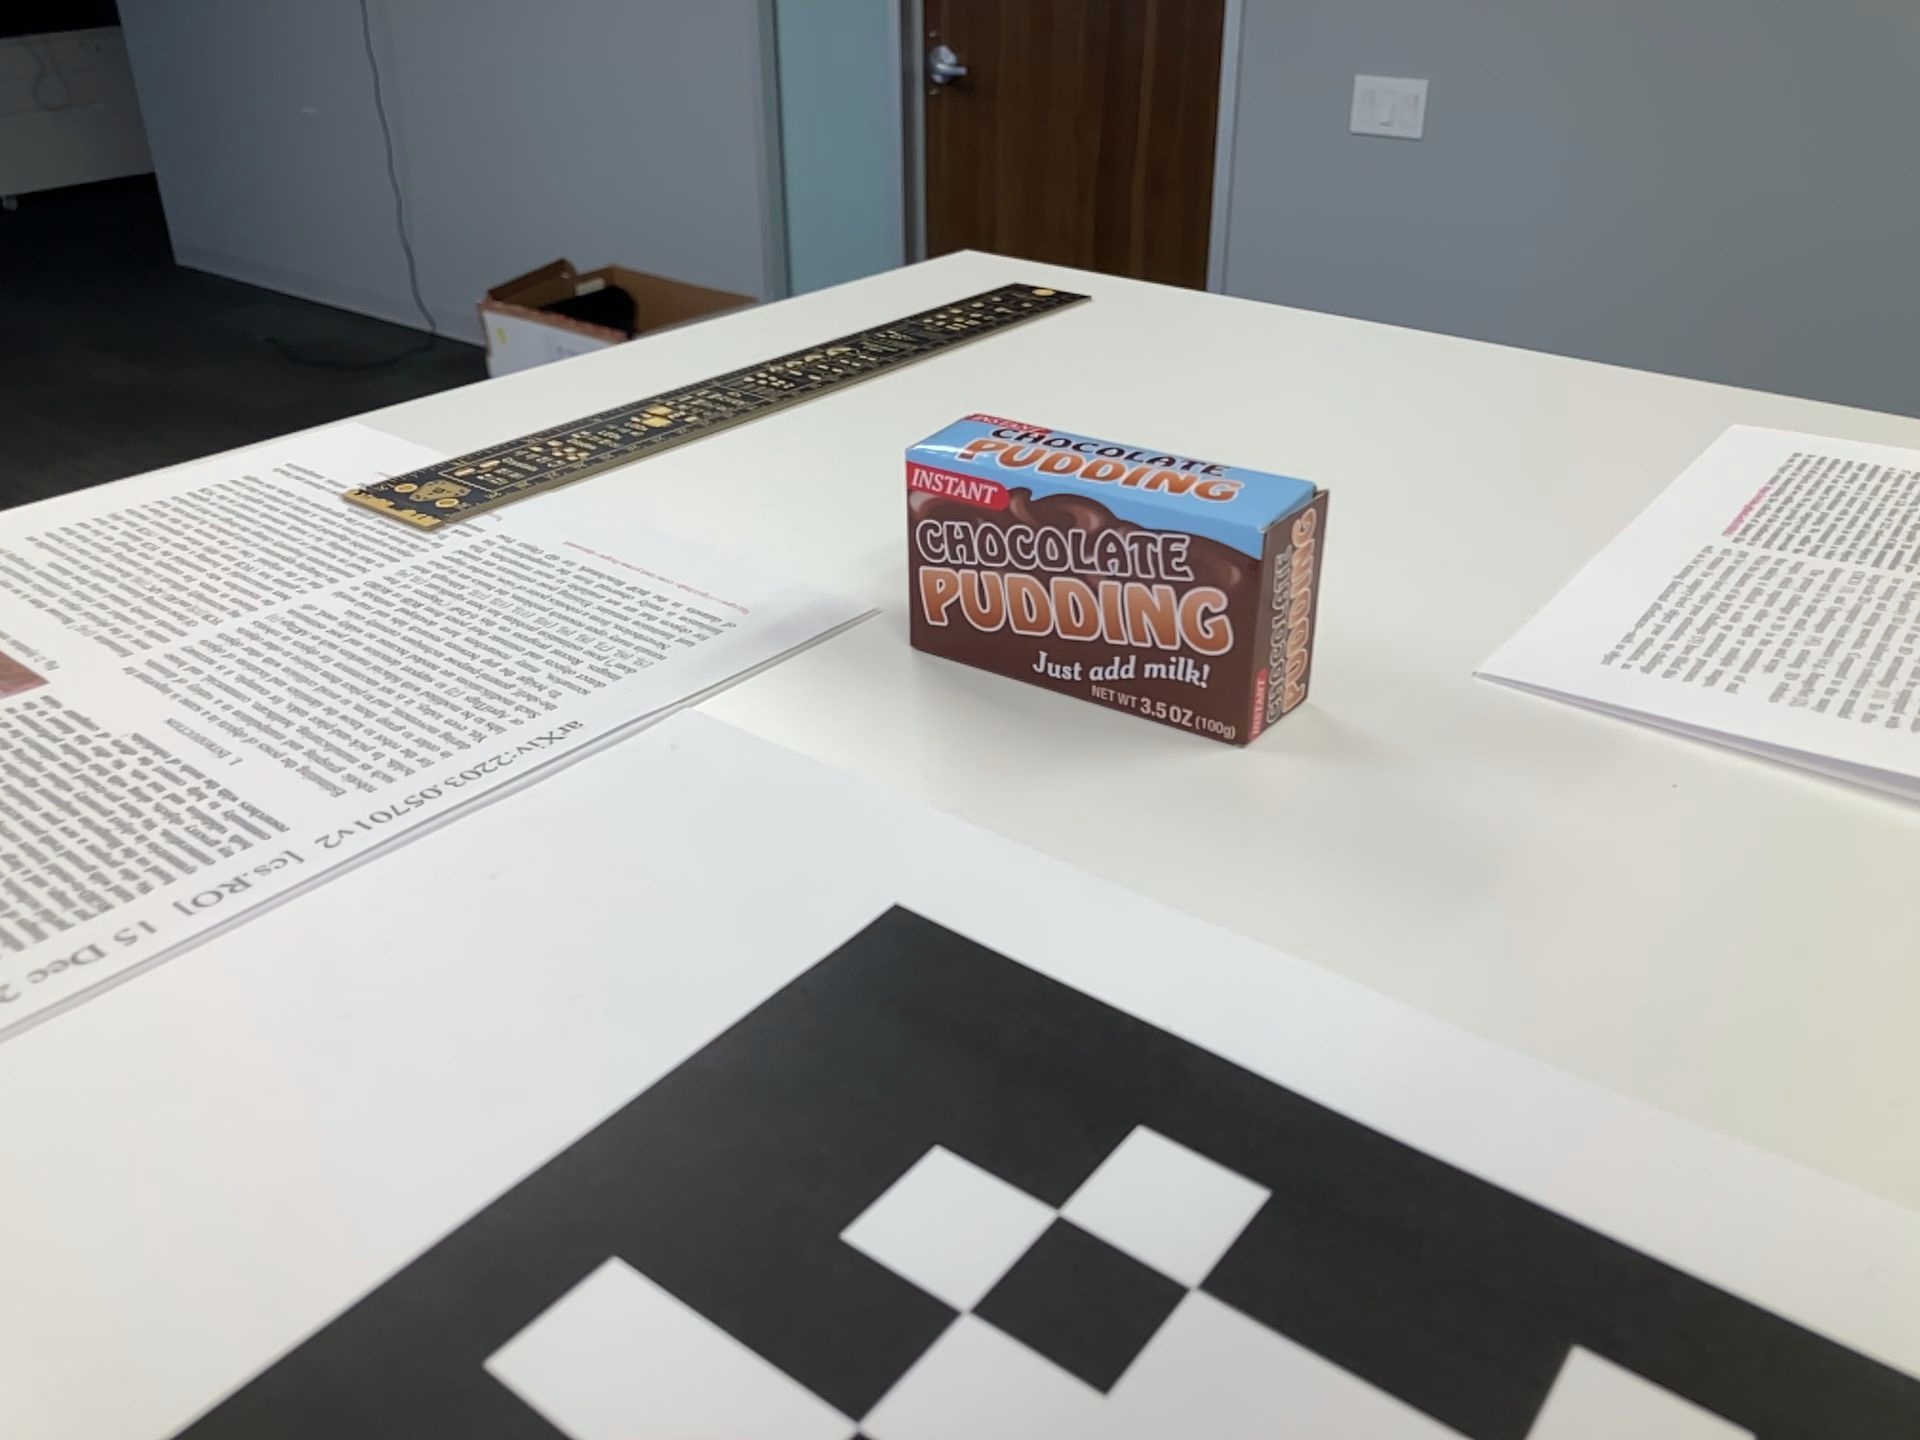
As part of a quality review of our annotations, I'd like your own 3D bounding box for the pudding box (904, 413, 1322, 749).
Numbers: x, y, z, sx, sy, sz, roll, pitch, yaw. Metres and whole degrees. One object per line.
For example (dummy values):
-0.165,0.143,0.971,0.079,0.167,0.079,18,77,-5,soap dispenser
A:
0.030,-0.032,0.334,0.083,0.049,0.030,19,35,29,pudding box
